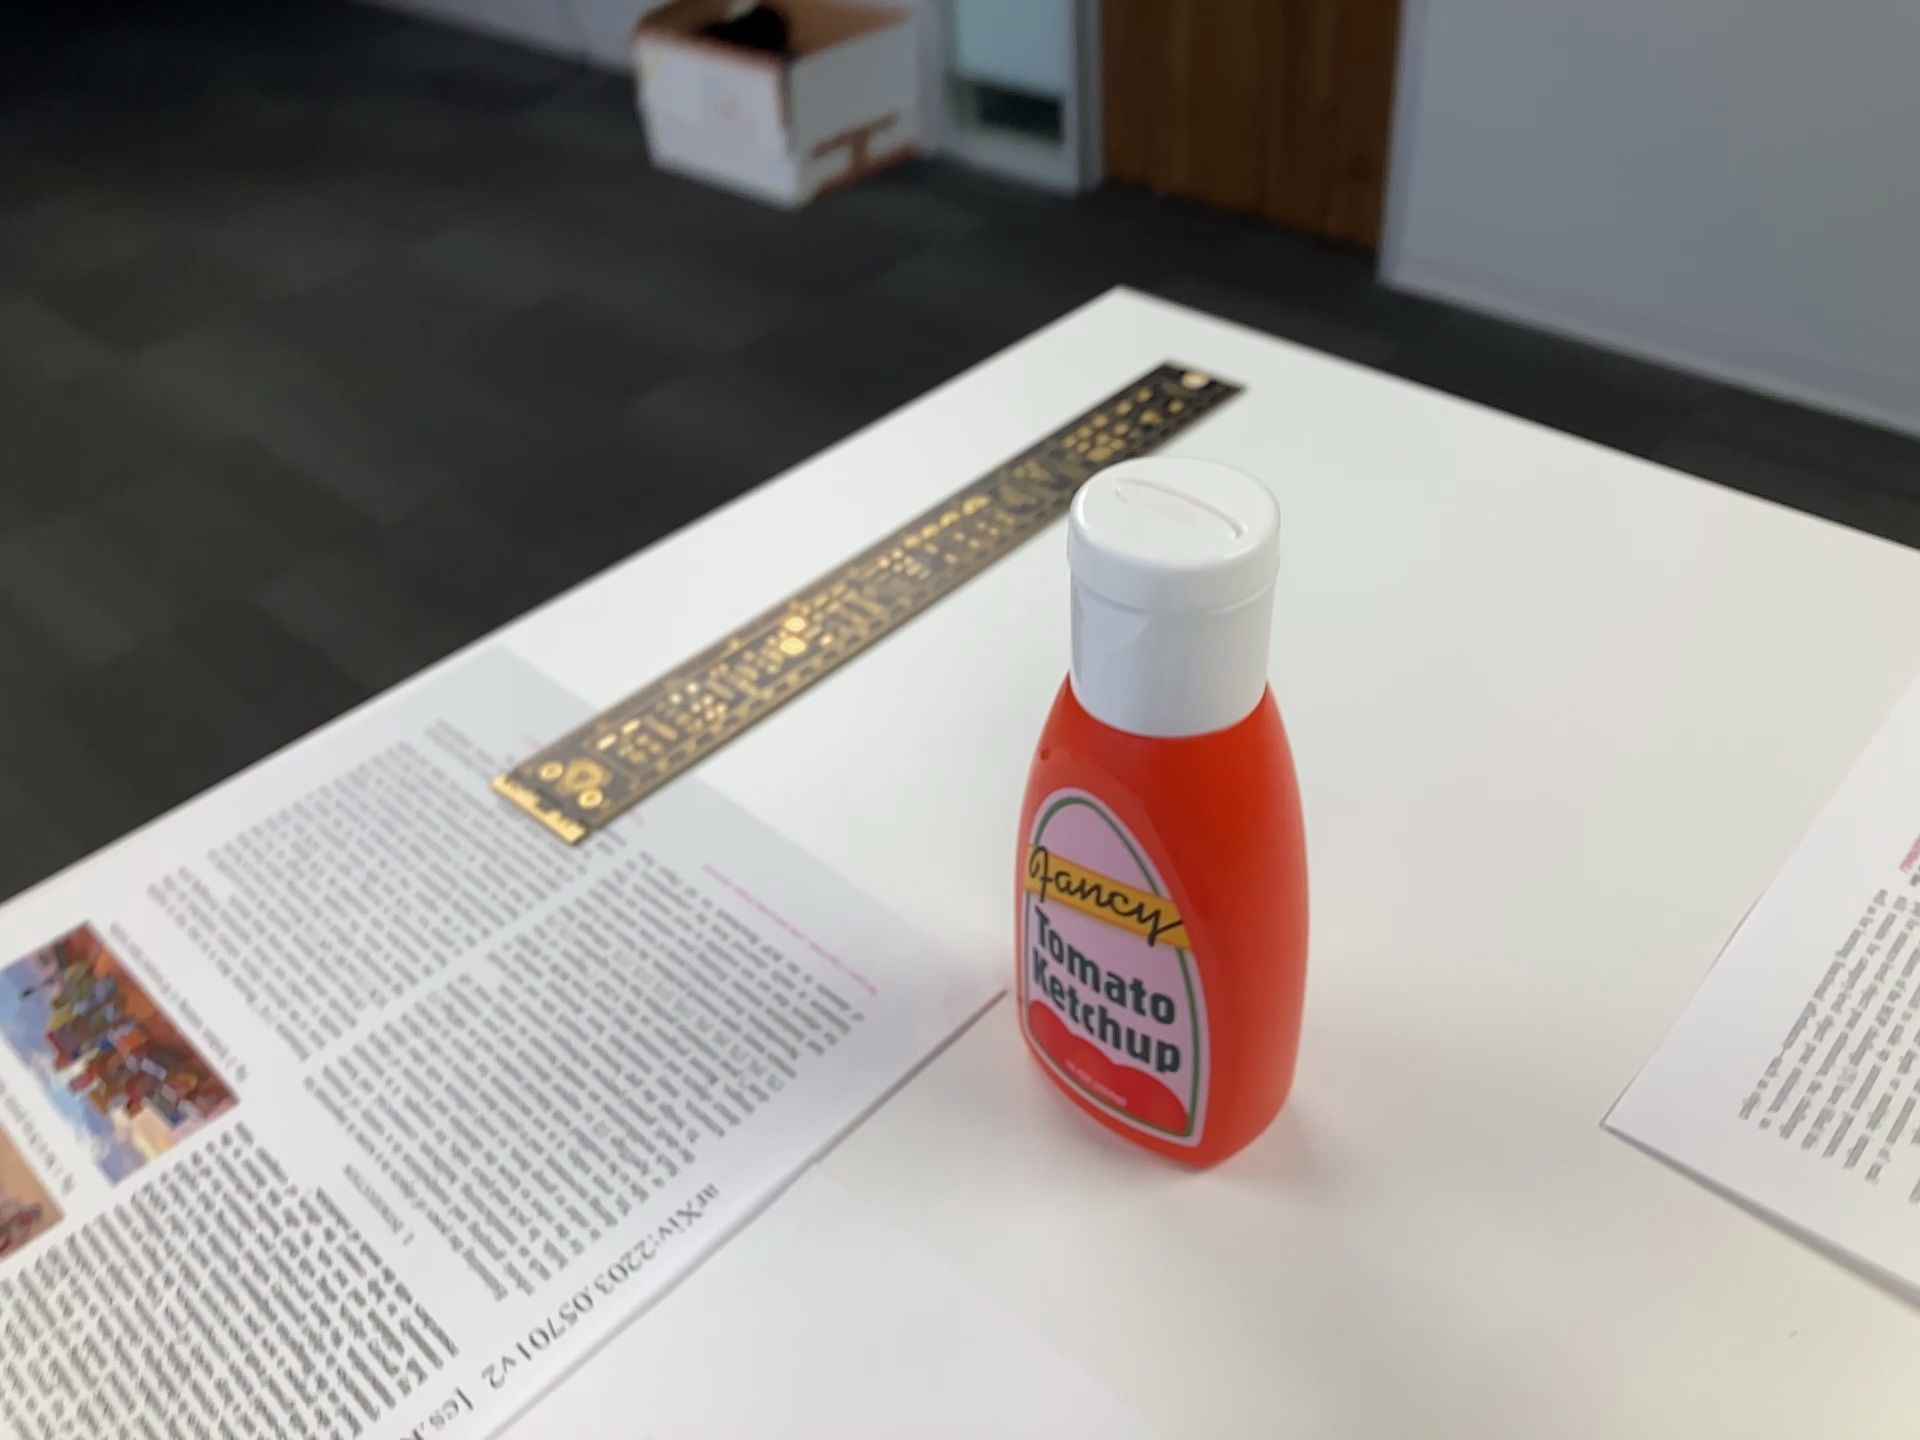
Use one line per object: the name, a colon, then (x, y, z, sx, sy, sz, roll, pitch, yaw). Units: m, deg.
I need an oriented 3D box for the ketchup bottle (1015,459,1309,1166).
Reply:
ketchup bottle: (0.040, 0.021, 0.320, 0.065, 0.149, 0.043, 30, 49, 35)
